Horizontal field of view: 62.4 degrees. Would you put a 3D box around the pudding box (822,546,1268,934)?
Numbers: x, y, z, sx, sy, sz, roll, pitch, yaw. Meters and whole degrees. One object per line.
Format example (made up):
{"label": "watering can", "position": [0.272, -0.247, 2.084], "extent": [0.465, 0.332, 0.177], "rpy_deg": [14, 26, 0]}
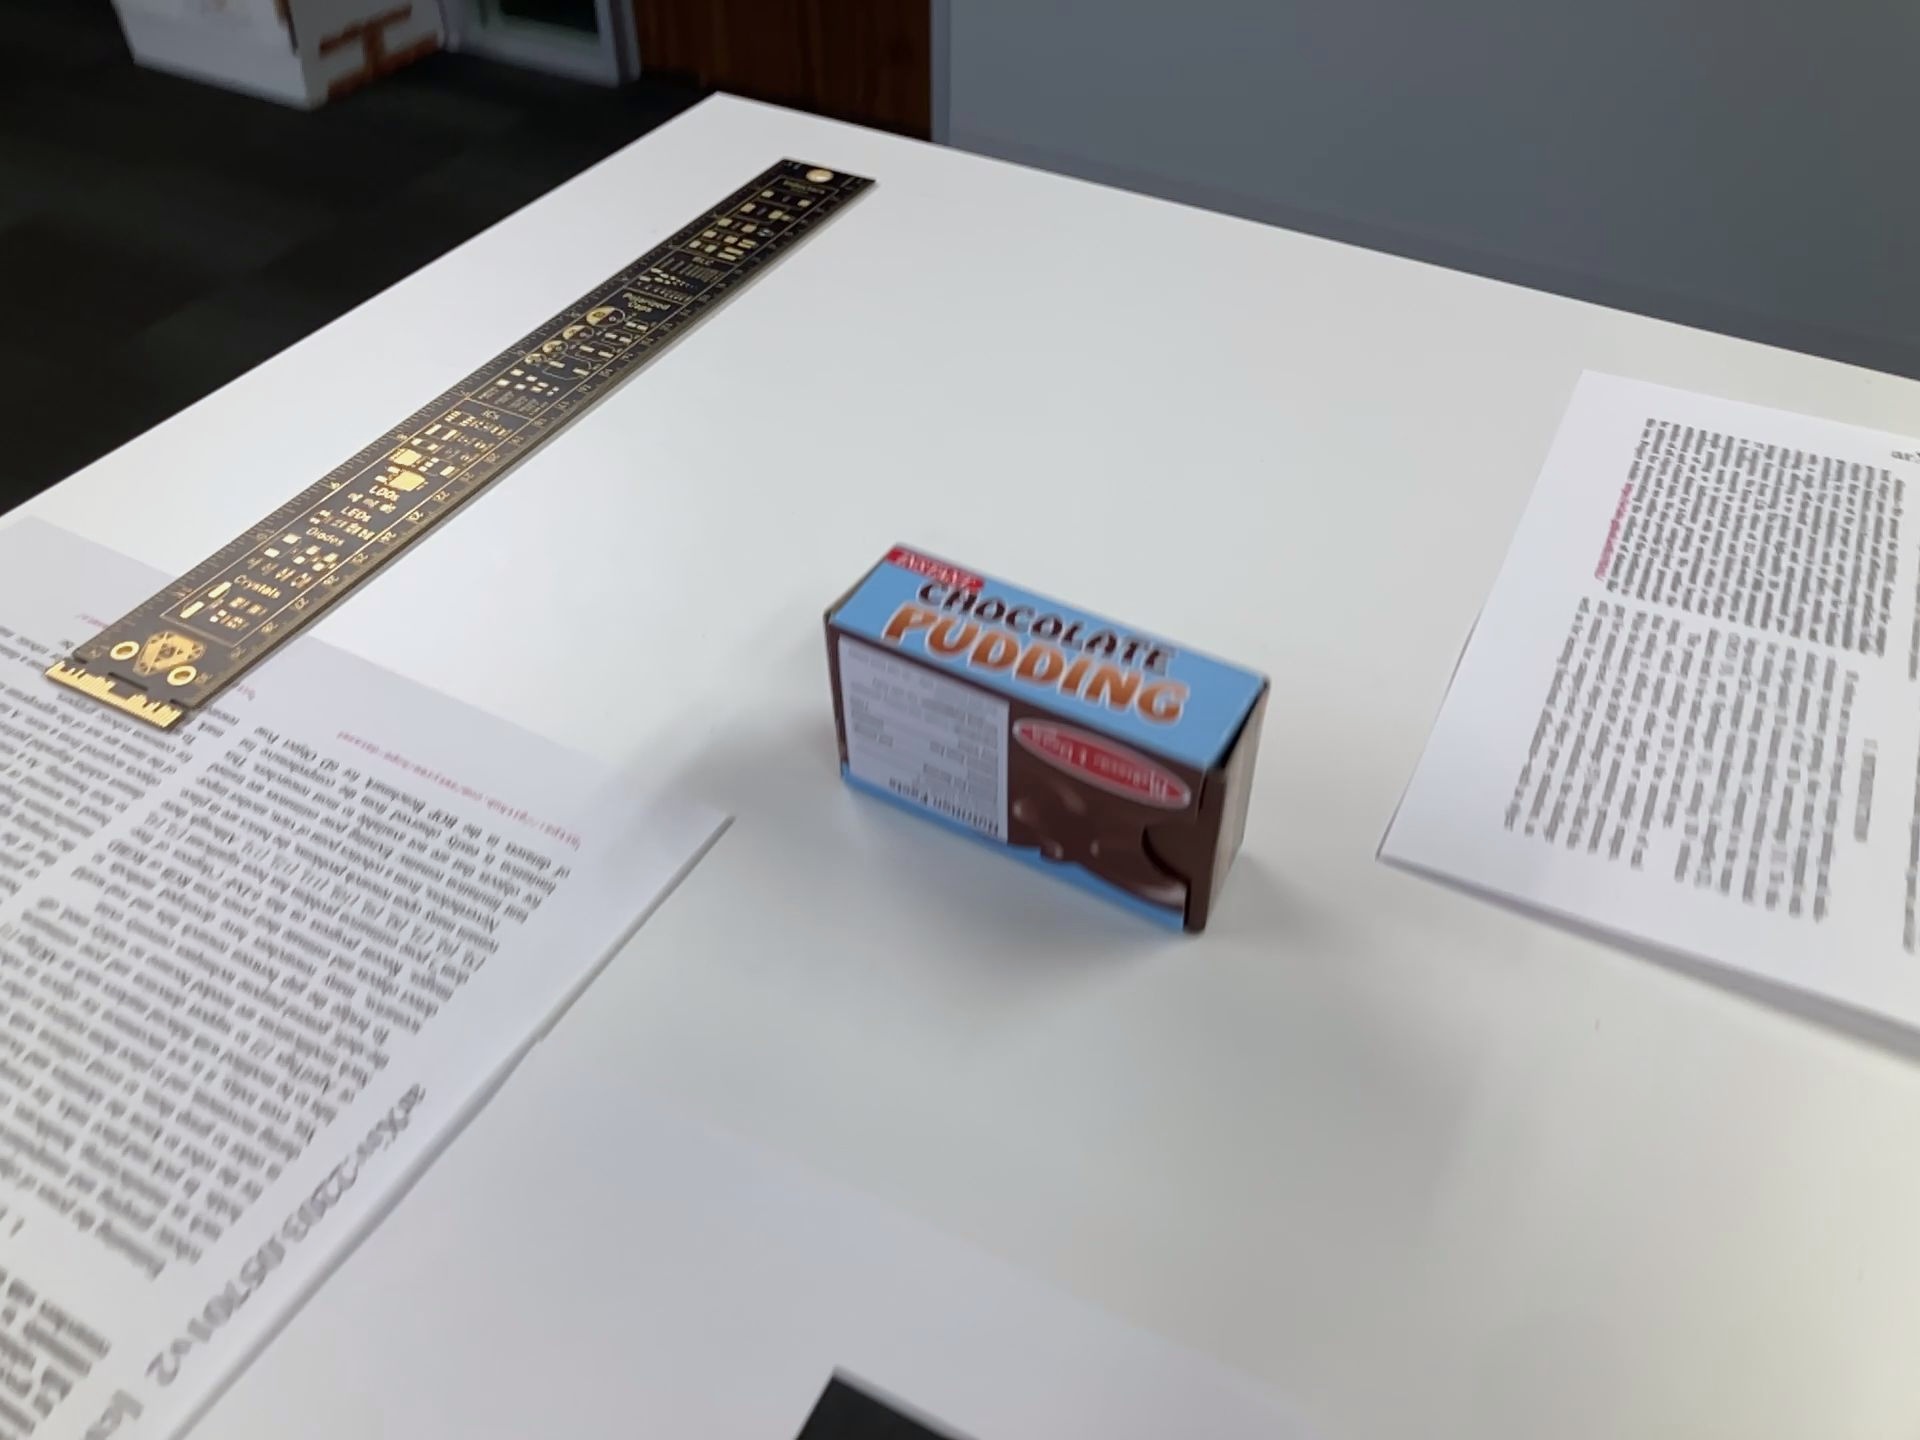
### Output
{"label": "pudding box", "position": [0.015, 0.004, 0.317], "extent": [0.083, 0.049, 0.030], "rpy_deg": [22, 49, 21]}
